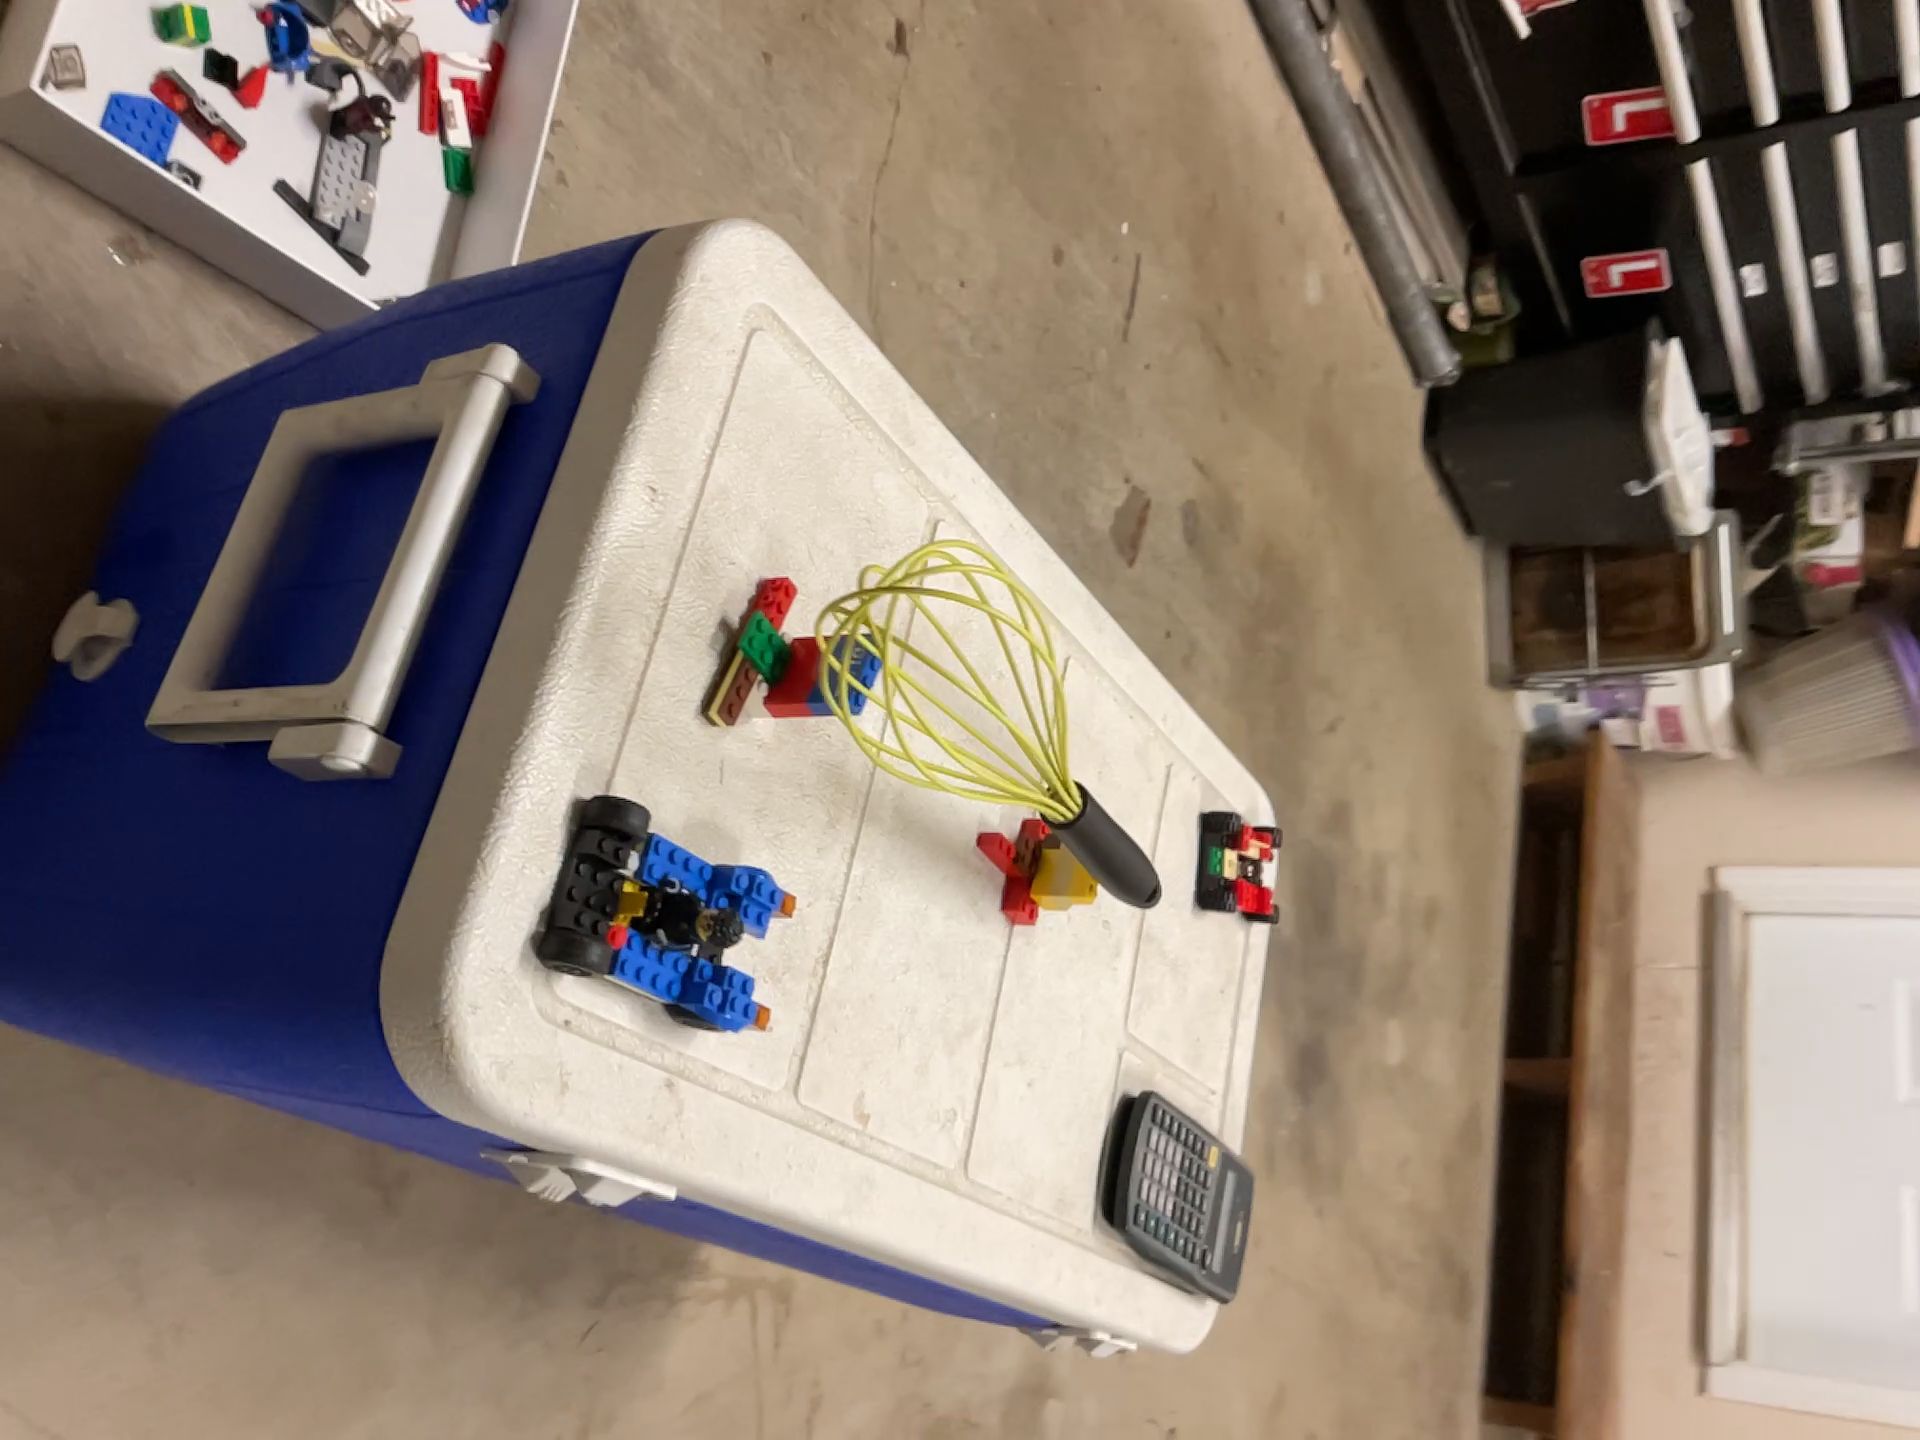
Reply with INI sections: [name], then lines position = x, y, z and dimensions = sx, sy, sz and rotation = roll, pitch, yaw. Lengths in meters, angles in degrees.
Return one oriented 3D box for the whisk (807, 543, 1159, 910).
[whisk]
position = 0.029, 0.021, 0.616
dimensions = 0.080, 0.067, 0.311
rotation = -38, 147, 3
